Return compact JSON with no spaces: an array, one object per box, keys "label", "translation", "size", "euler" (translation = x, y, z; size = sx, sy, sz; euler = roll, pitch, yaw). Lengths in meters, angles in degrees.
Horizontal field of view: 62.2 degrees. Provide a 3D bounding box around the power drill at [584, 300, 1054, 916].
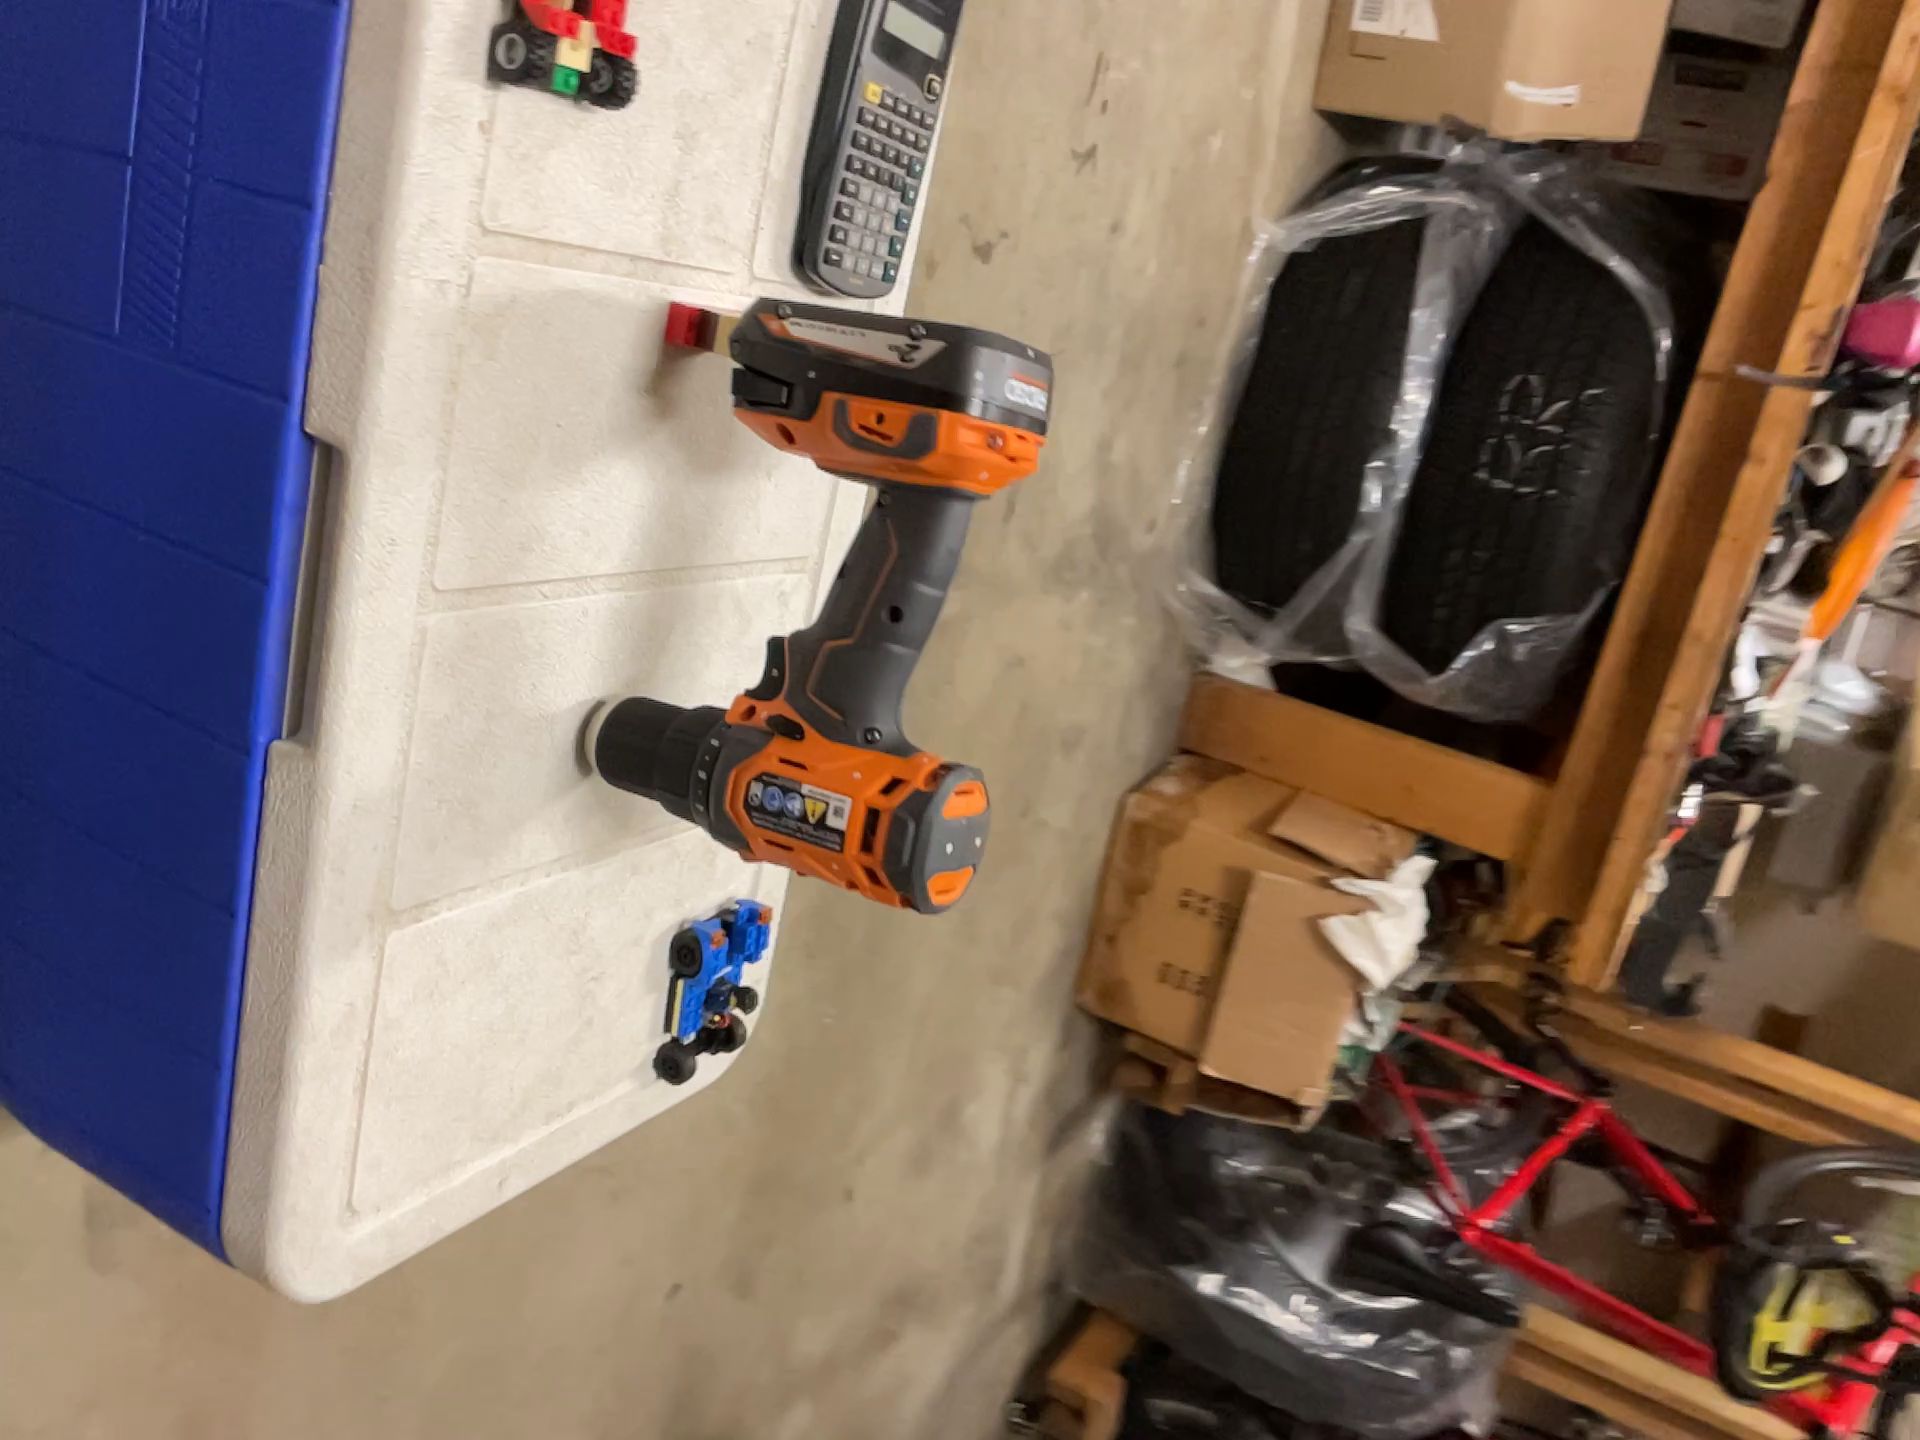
[{"label":"power drill","translation":[-0.064,-0.050,0.653],"size":[0.084,0.185,0.226],"euler":[-4,107,-62]}]
